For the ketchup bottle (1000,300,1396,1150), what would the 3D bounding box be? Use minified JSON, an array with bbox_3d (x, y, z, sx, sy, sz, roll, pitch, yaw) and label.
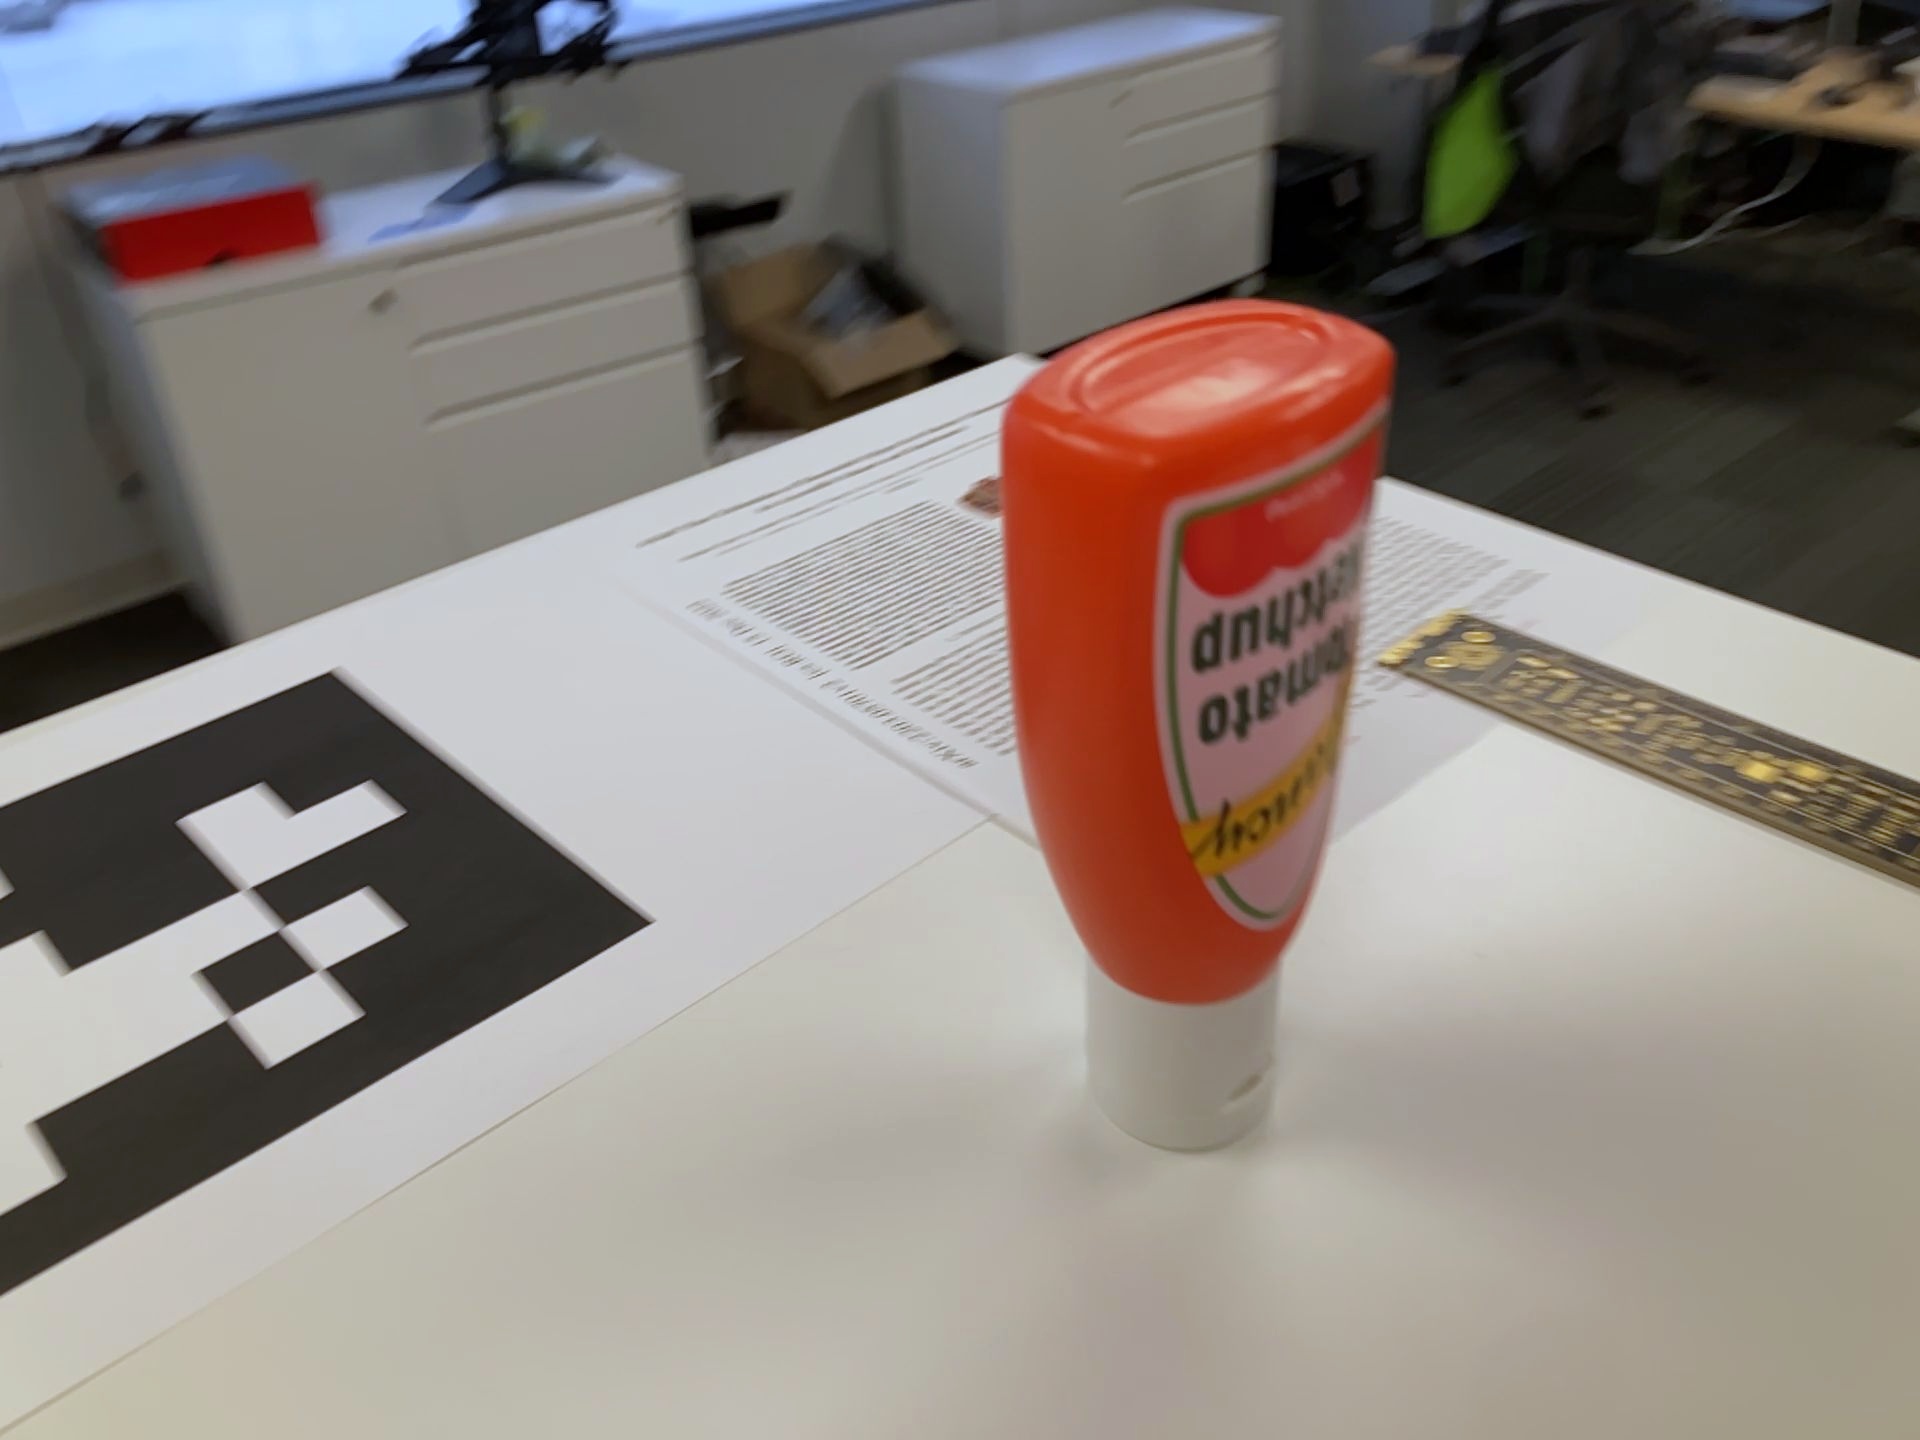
[{"bbox_3d":[0.039,0.009,0.270,0.065,0.149,0.043,-29,41,-32],"label":"ketchup bottle"}]
